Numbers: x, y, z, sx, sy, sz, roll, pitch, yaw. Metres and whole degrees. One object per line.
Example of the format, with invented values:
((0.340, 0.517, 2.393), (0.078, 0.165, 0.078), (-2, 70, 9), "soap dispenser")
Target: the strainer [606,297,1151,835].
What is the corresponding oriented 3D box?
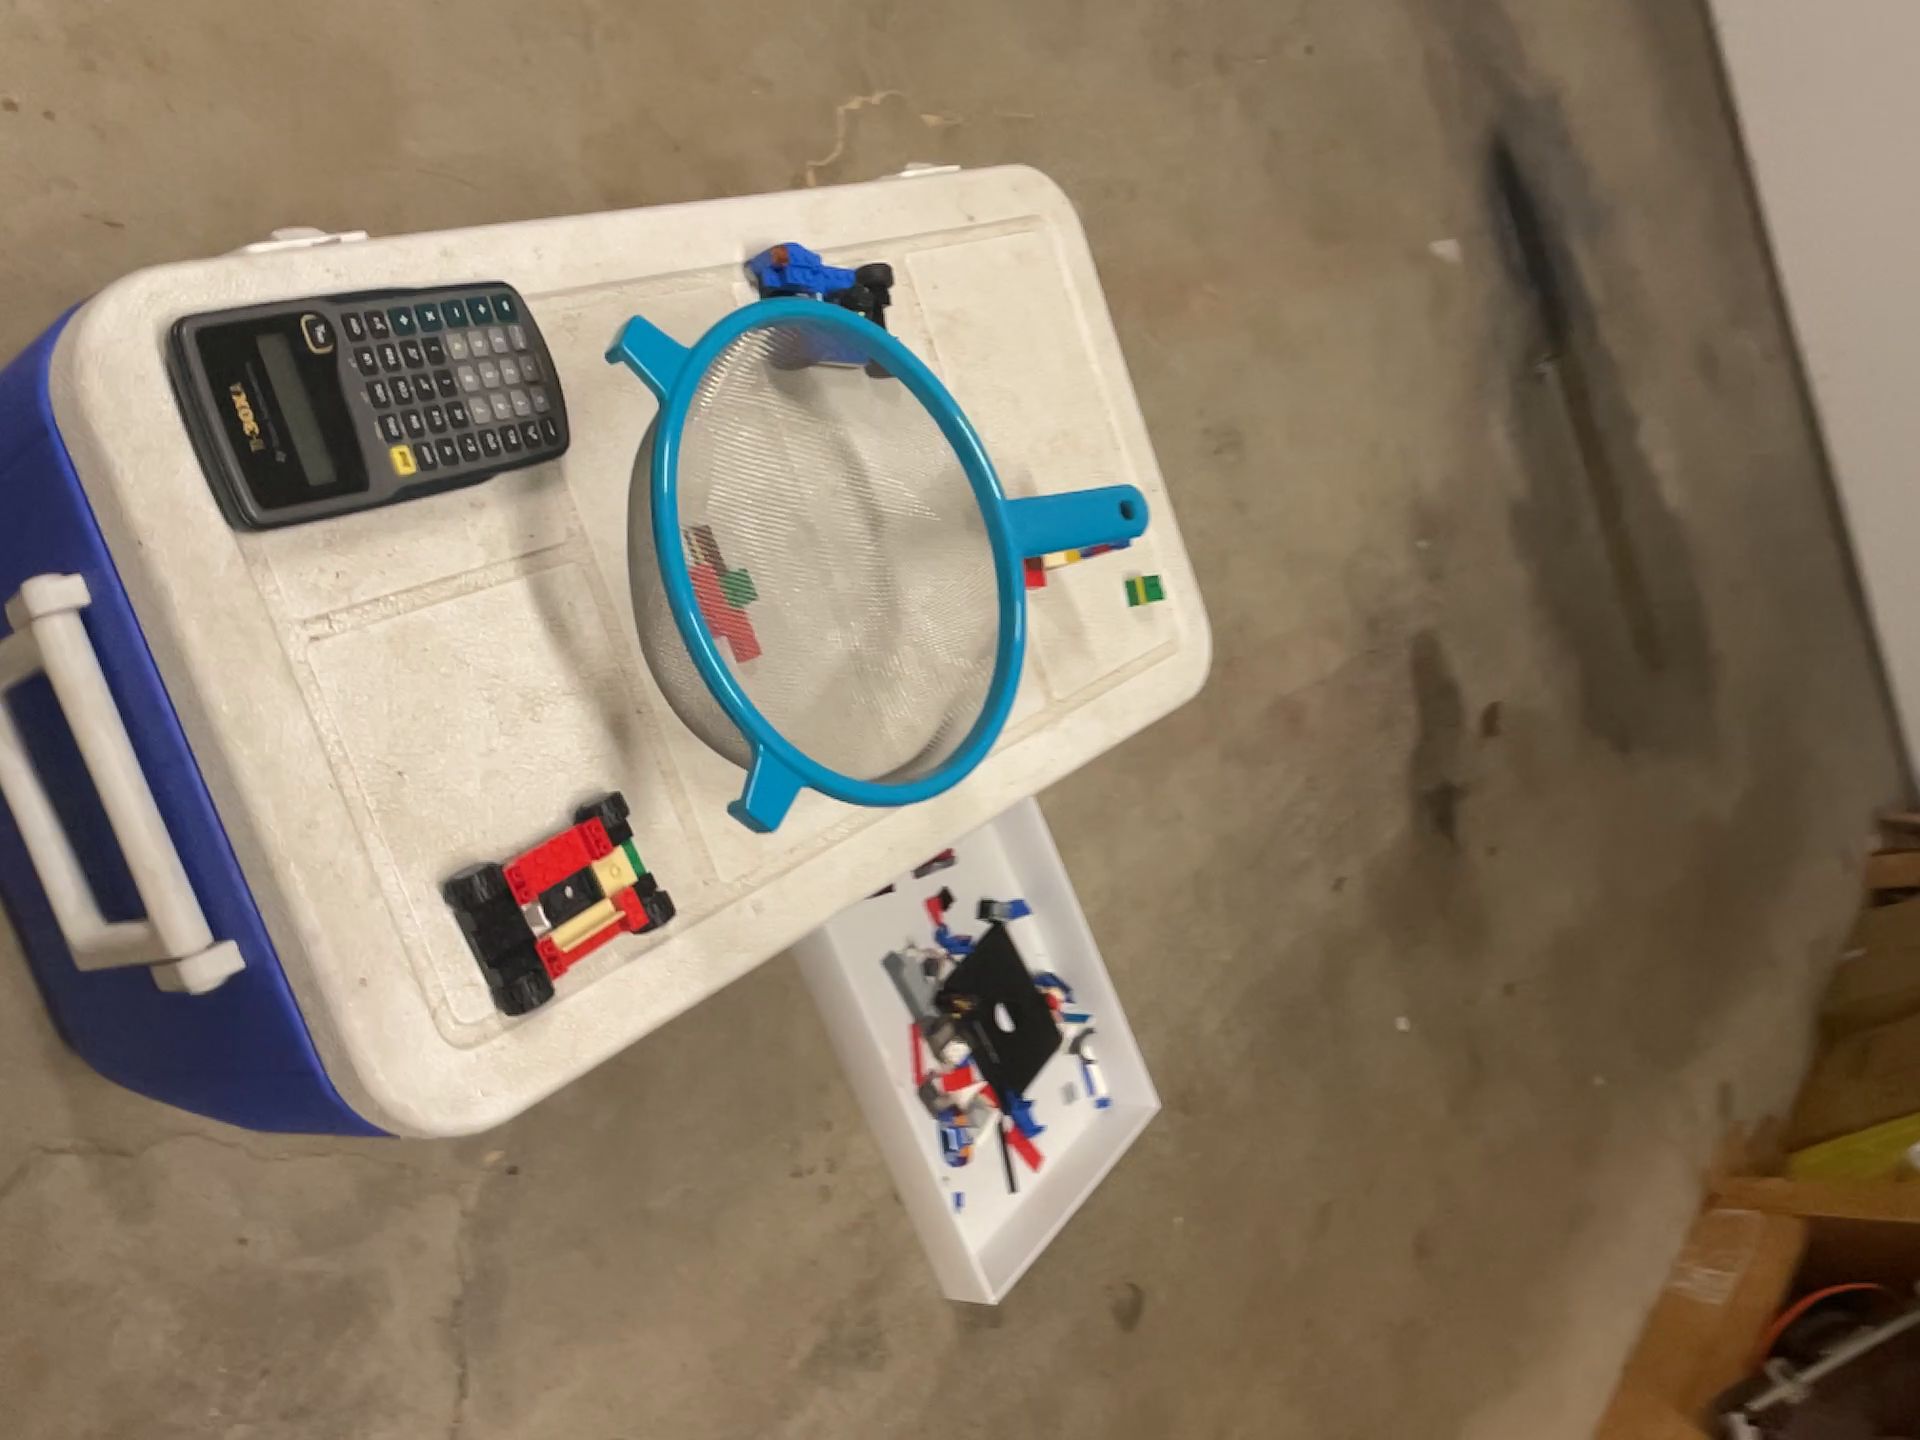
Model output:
((-0.033, -0.073, 0.721), (0.340, 0.095, 0.211), (-17, 93, -52), "strainer")
